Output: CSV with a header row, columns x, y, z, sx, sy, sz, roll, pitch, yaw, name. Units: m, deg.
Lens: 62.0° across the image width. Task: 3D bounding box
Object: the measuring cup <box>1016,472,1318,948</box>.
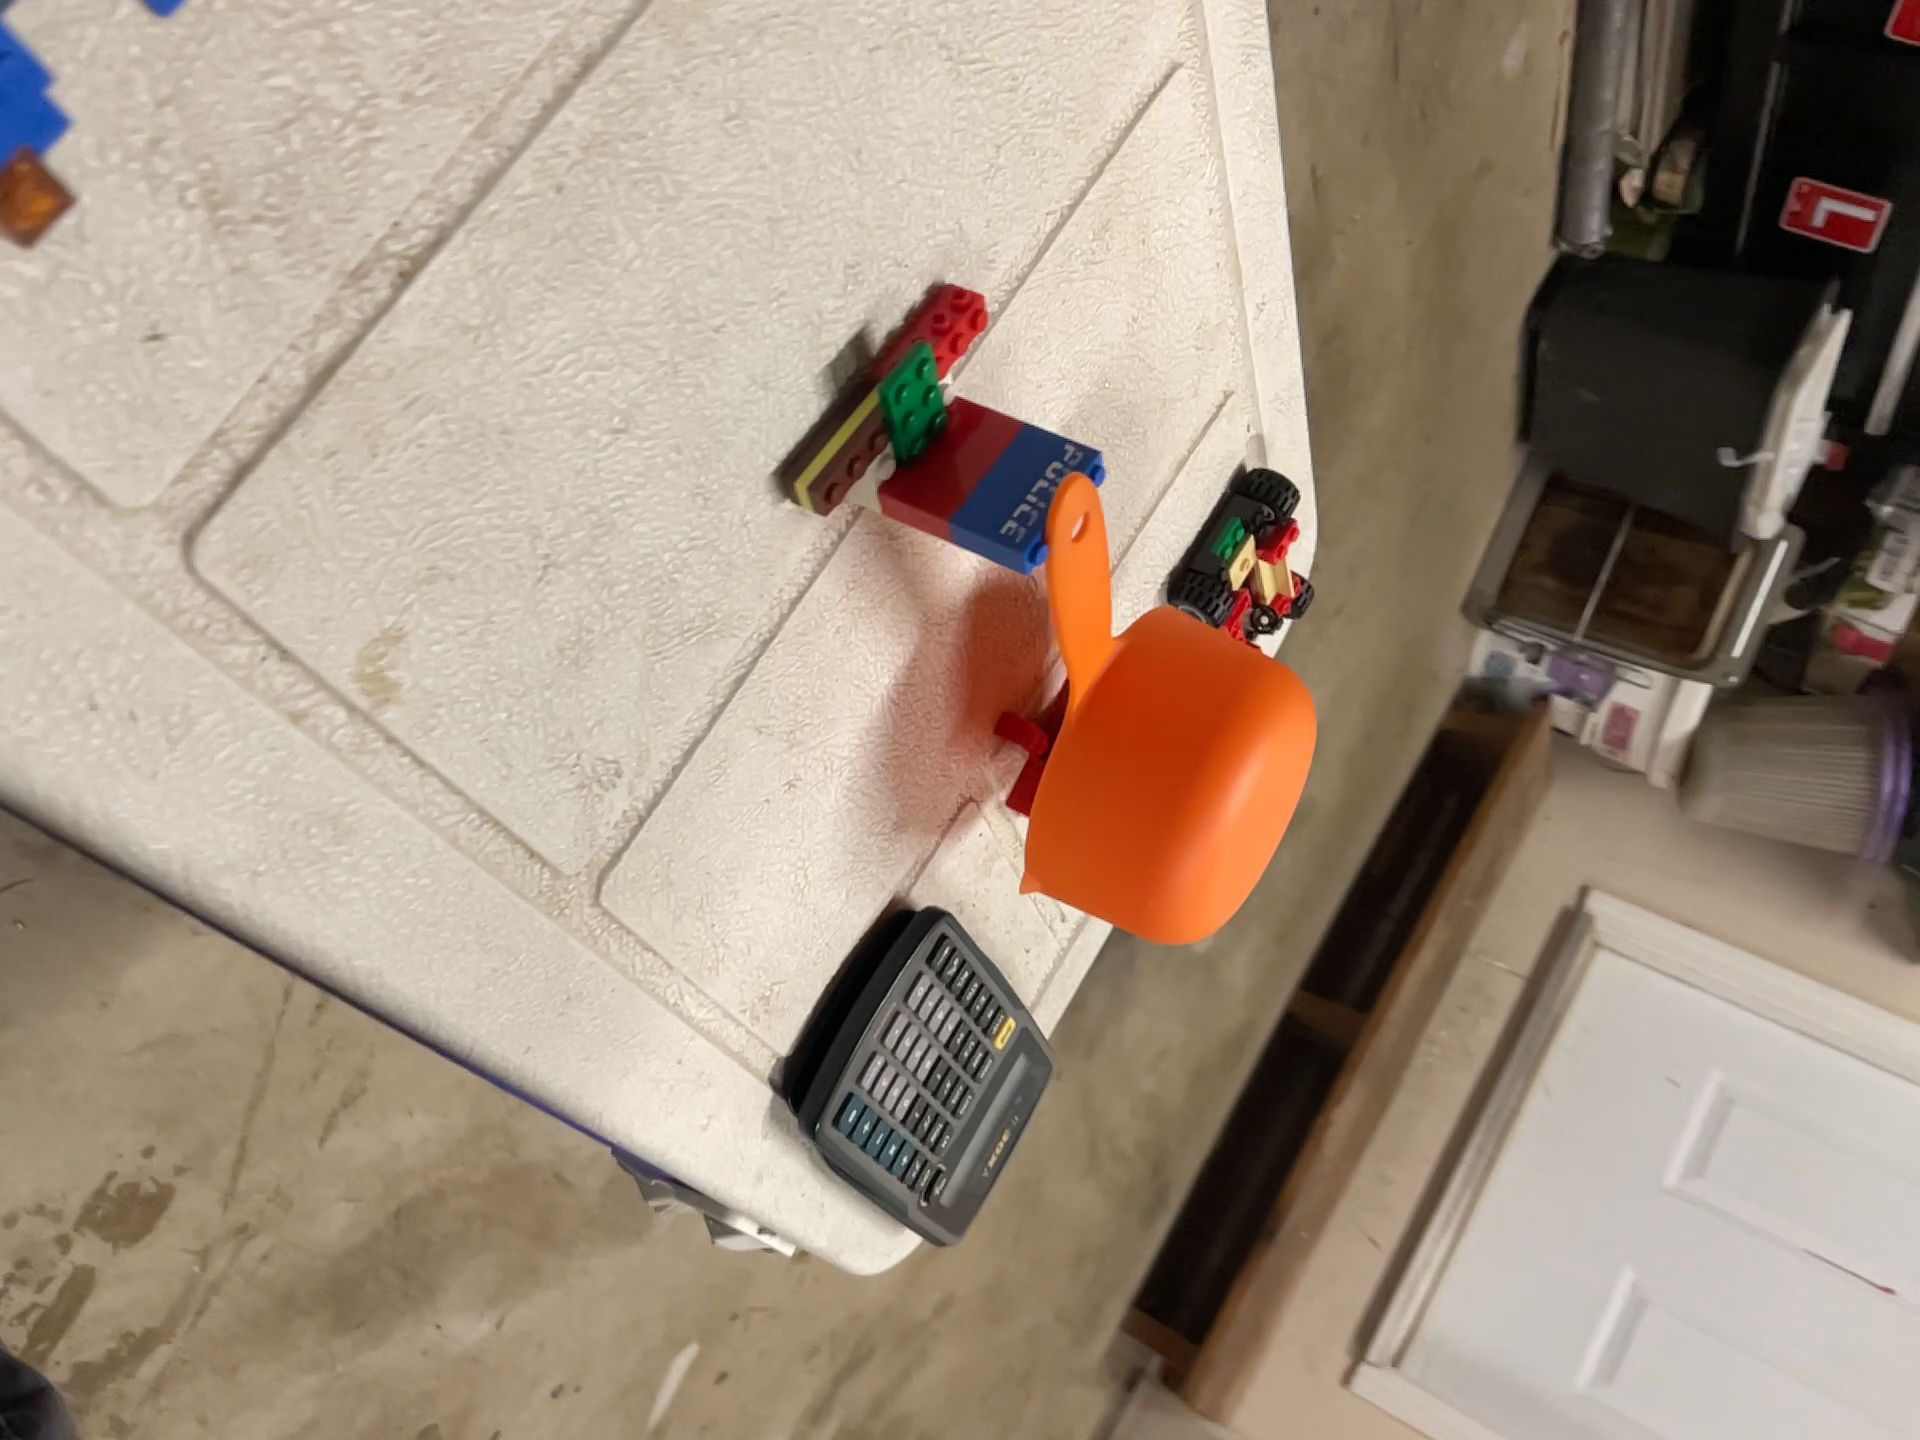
x,y,z,sx,sy,sz,roll,pitch,yaw,name
0.055,-0.001,0.398,0.095,0.052,0.173,-57,159,-19,measuring cup
